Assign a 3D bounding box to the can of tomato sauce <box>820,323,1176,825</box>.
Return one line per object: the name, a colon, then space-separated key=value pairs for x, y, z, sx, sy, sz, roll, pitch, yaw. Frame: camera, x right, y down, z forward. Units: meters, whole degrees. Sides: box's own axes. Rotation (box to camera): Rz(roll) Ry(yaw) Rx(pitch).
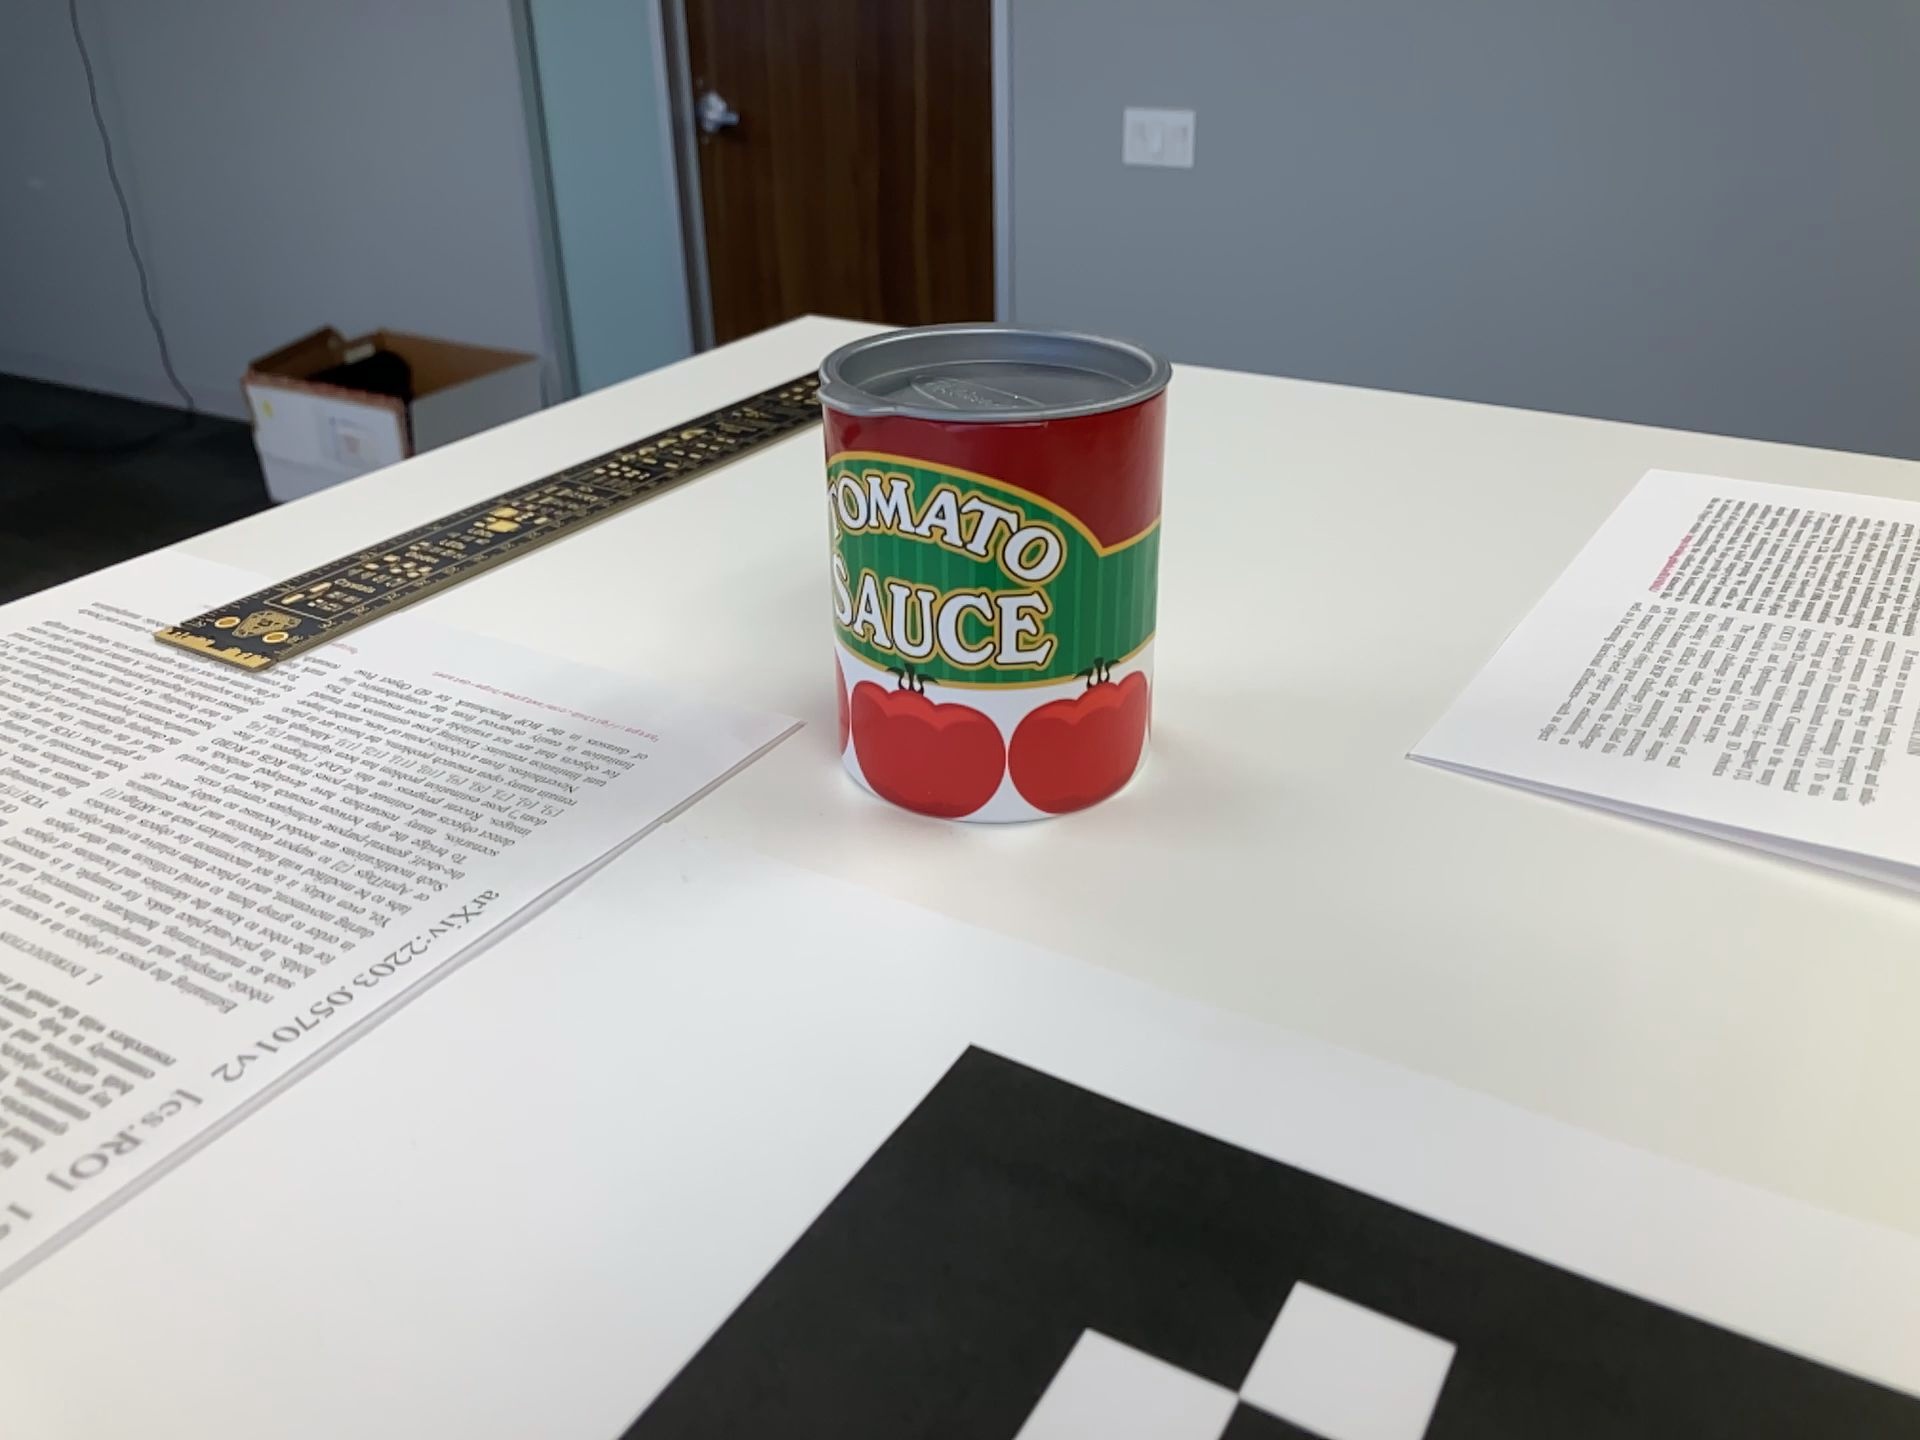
can of tomato sauce: x=0.006 y=-0.030 z=0.316 sx=0.071 sy=0.083 sz=0.071 roll=0 pitch=27 yaw=0
